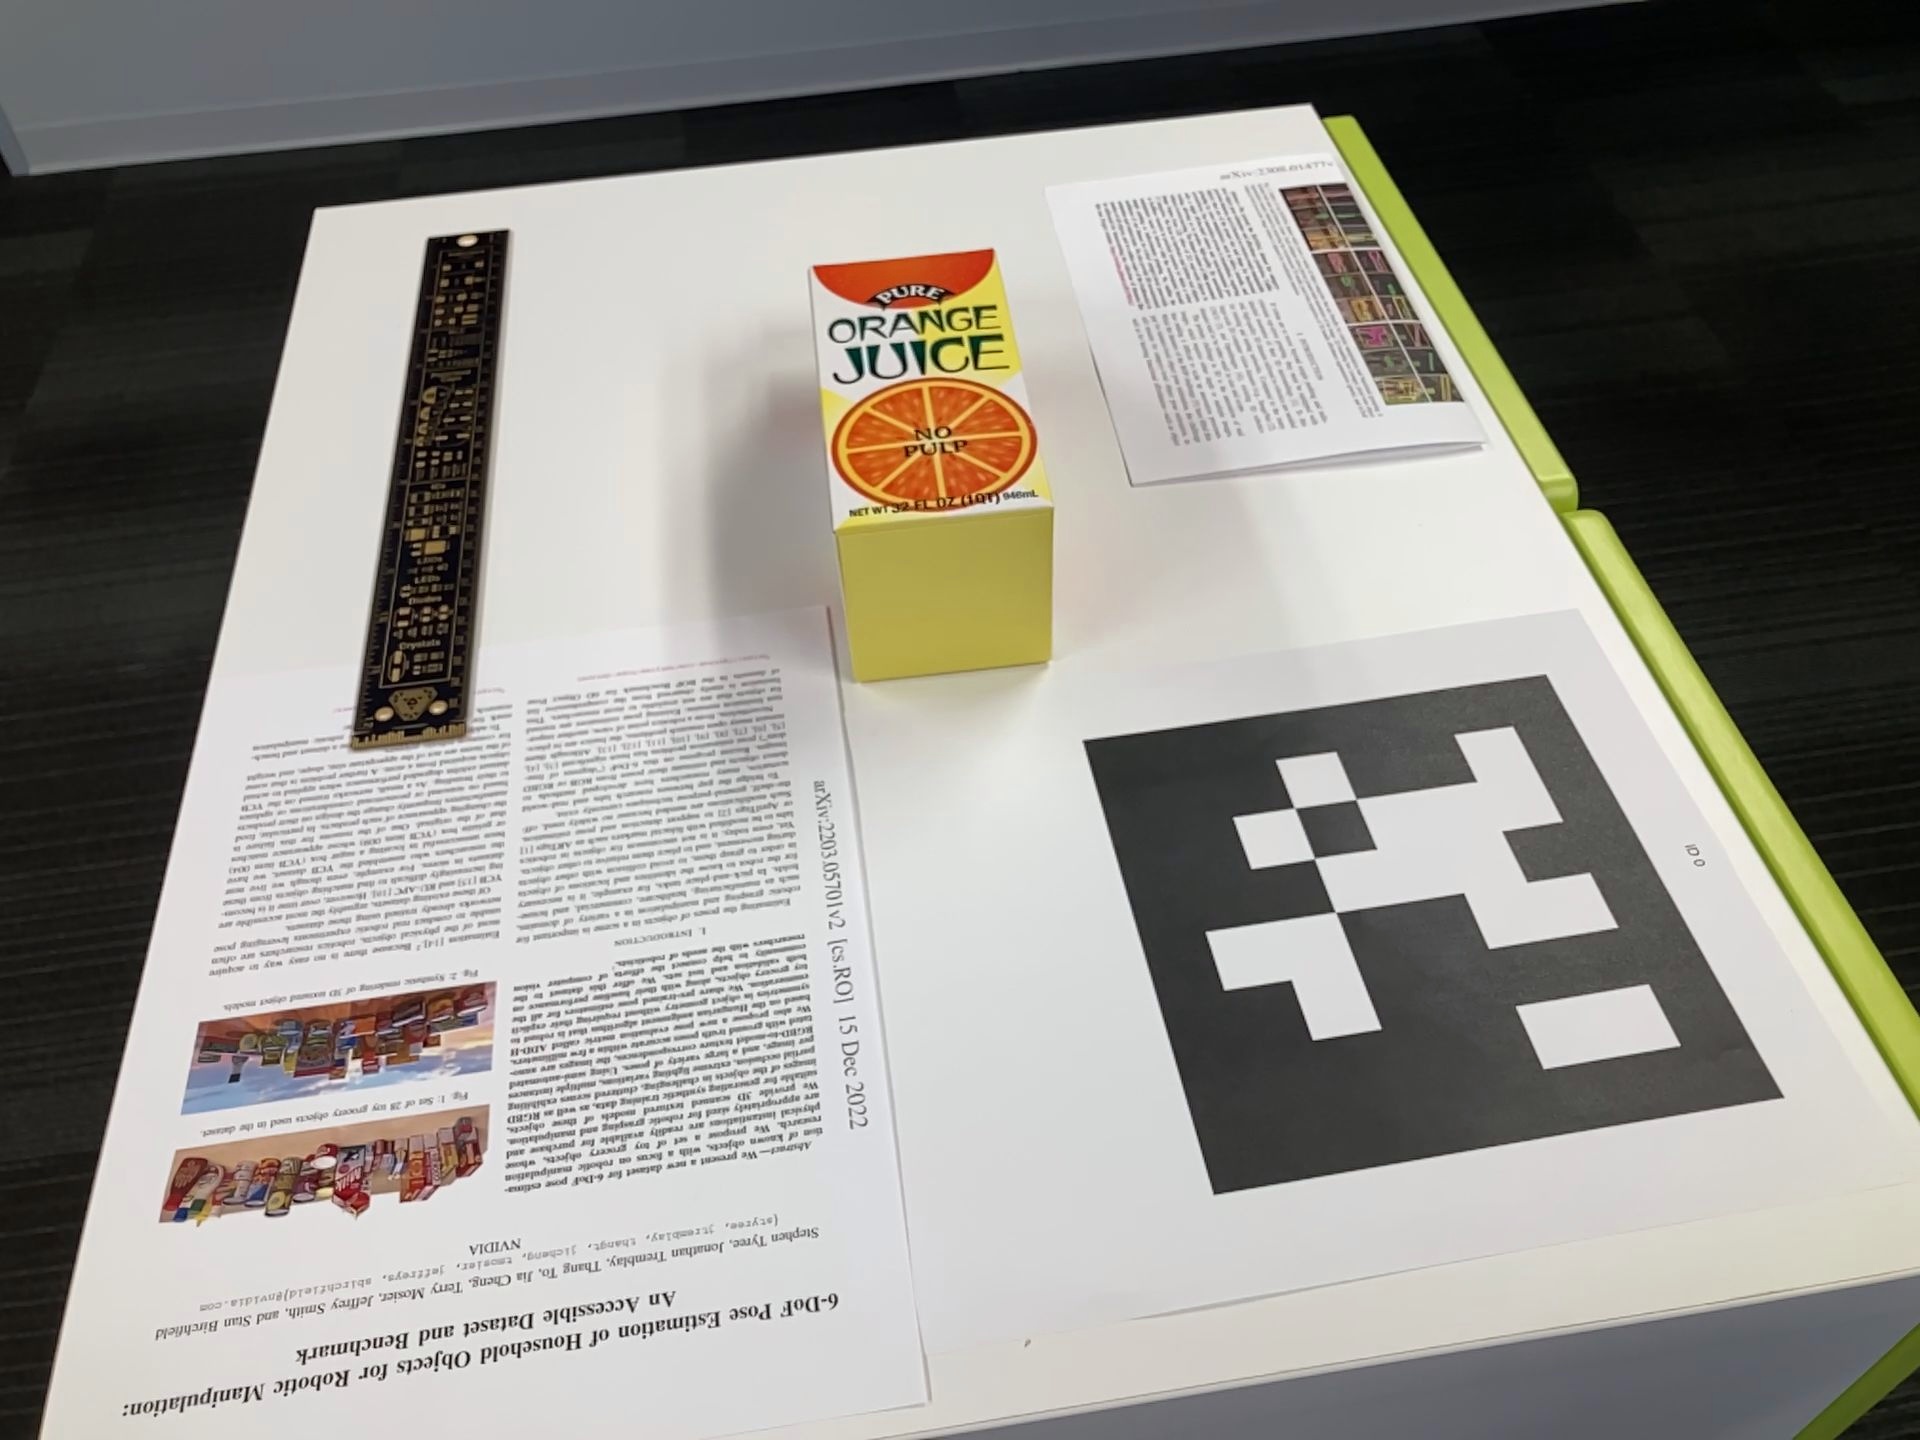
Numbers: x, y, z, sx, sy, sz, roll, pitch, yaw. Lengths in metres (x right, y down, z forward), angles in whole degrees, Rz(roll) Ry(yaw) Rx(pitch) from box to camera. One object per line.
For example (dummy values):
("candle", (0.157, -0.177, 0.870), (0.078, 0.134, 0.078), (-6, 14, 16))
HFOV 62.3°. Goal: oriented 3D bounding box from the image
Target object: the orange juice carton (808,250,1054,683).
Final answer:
("orange juice carton", (-0.014, -0.111, 0.589), (0.072, 0.073, 0.192), (-7, 49, -3))
